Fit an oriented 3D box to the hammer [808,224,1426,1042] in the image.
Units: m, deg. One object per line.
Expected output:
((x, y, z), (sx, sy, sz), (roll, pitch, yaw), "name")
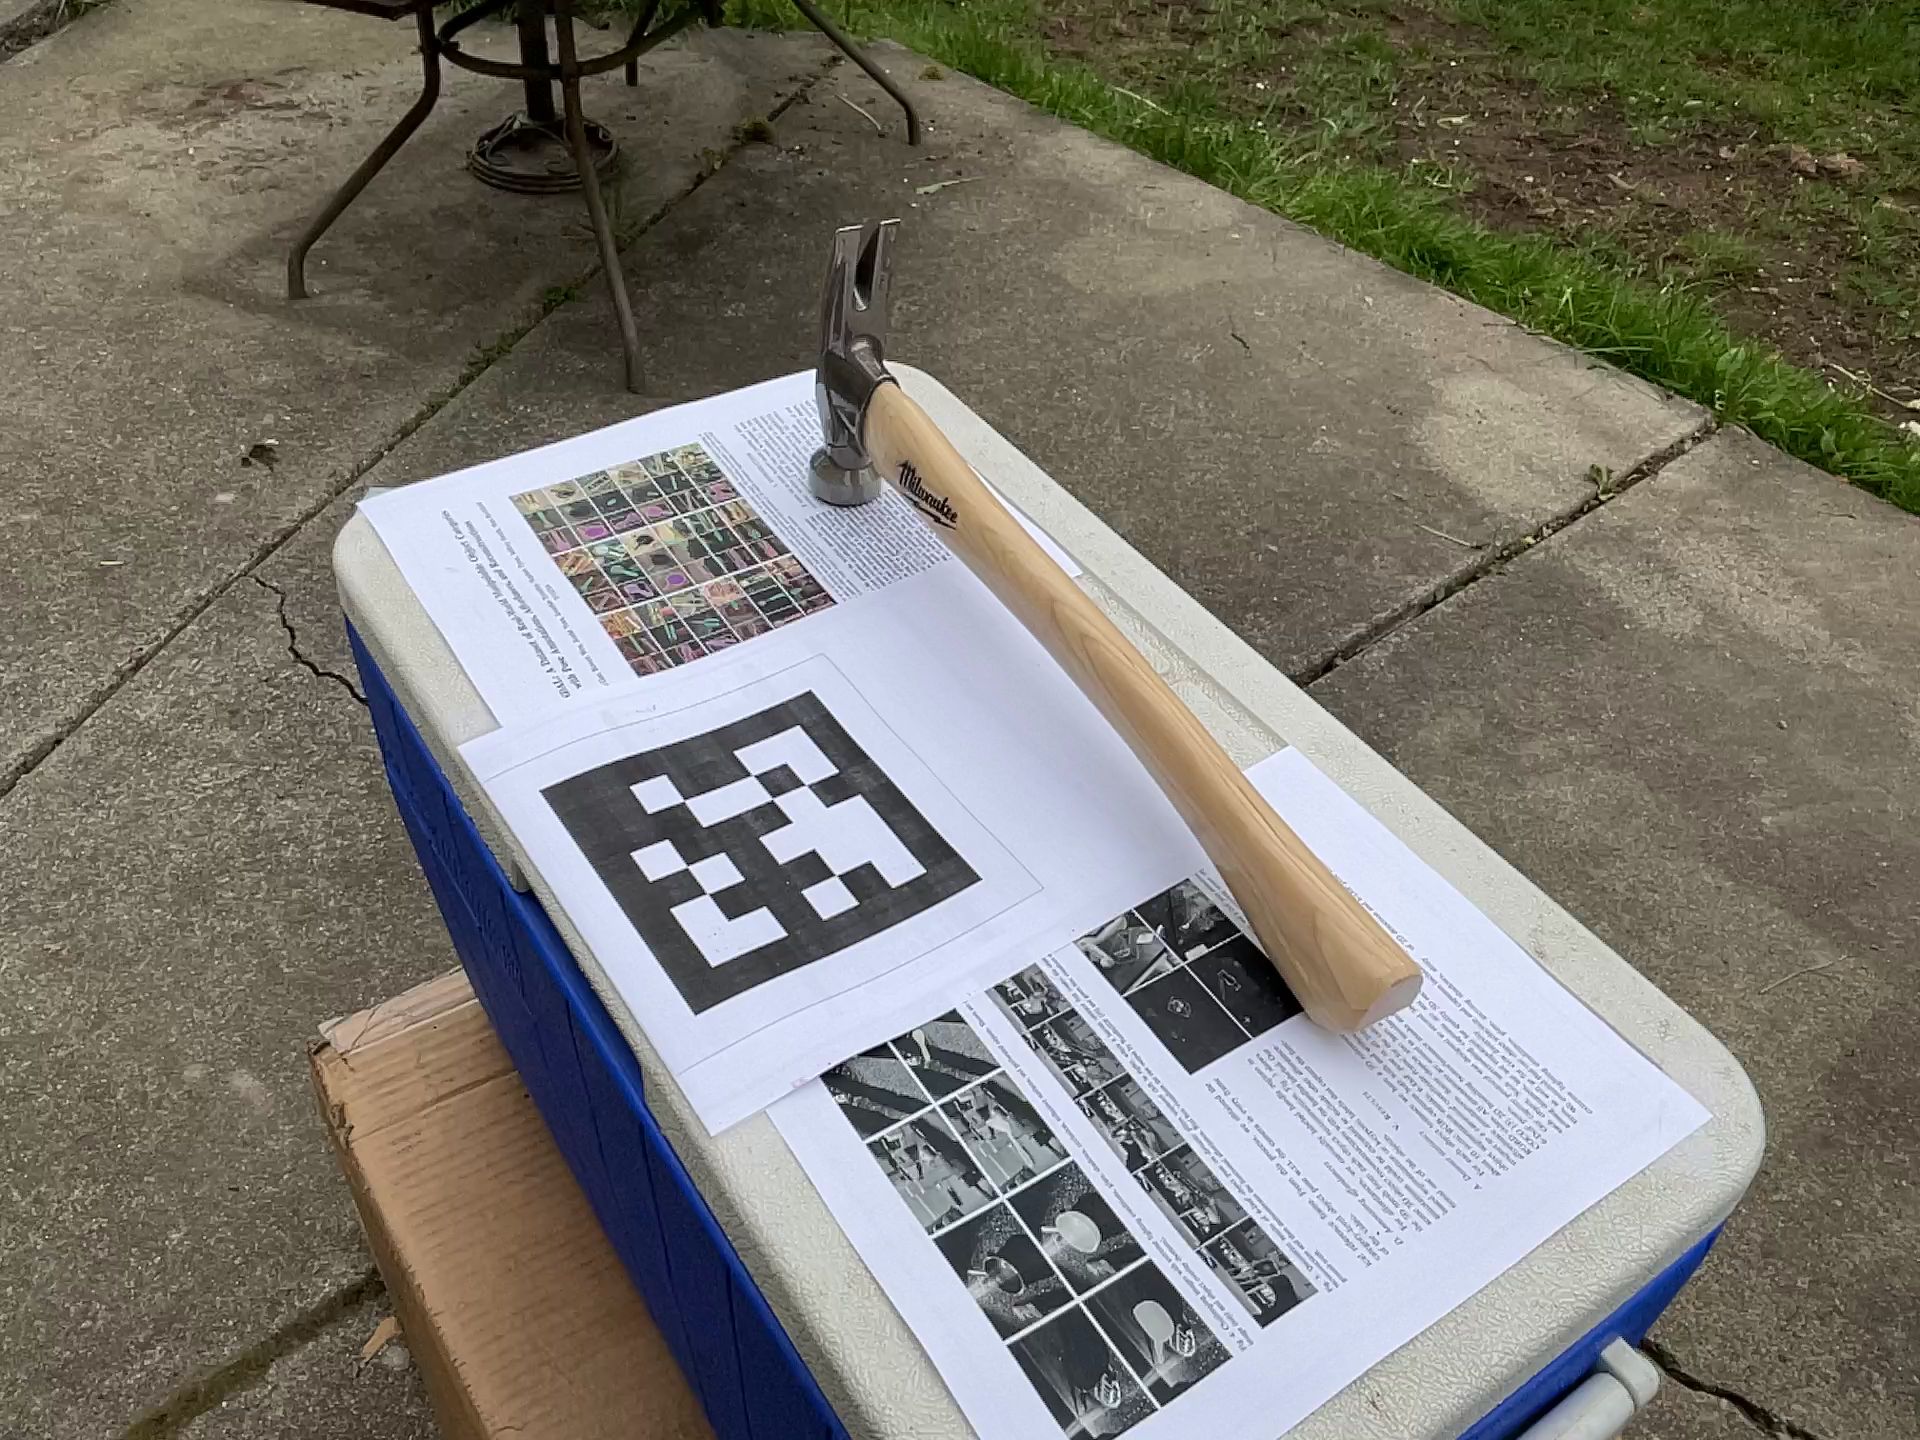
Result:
((0.047, -0.043, 0.657), (0.038, 0.146, 0.411), (-20, 53, -25), "hammer")
